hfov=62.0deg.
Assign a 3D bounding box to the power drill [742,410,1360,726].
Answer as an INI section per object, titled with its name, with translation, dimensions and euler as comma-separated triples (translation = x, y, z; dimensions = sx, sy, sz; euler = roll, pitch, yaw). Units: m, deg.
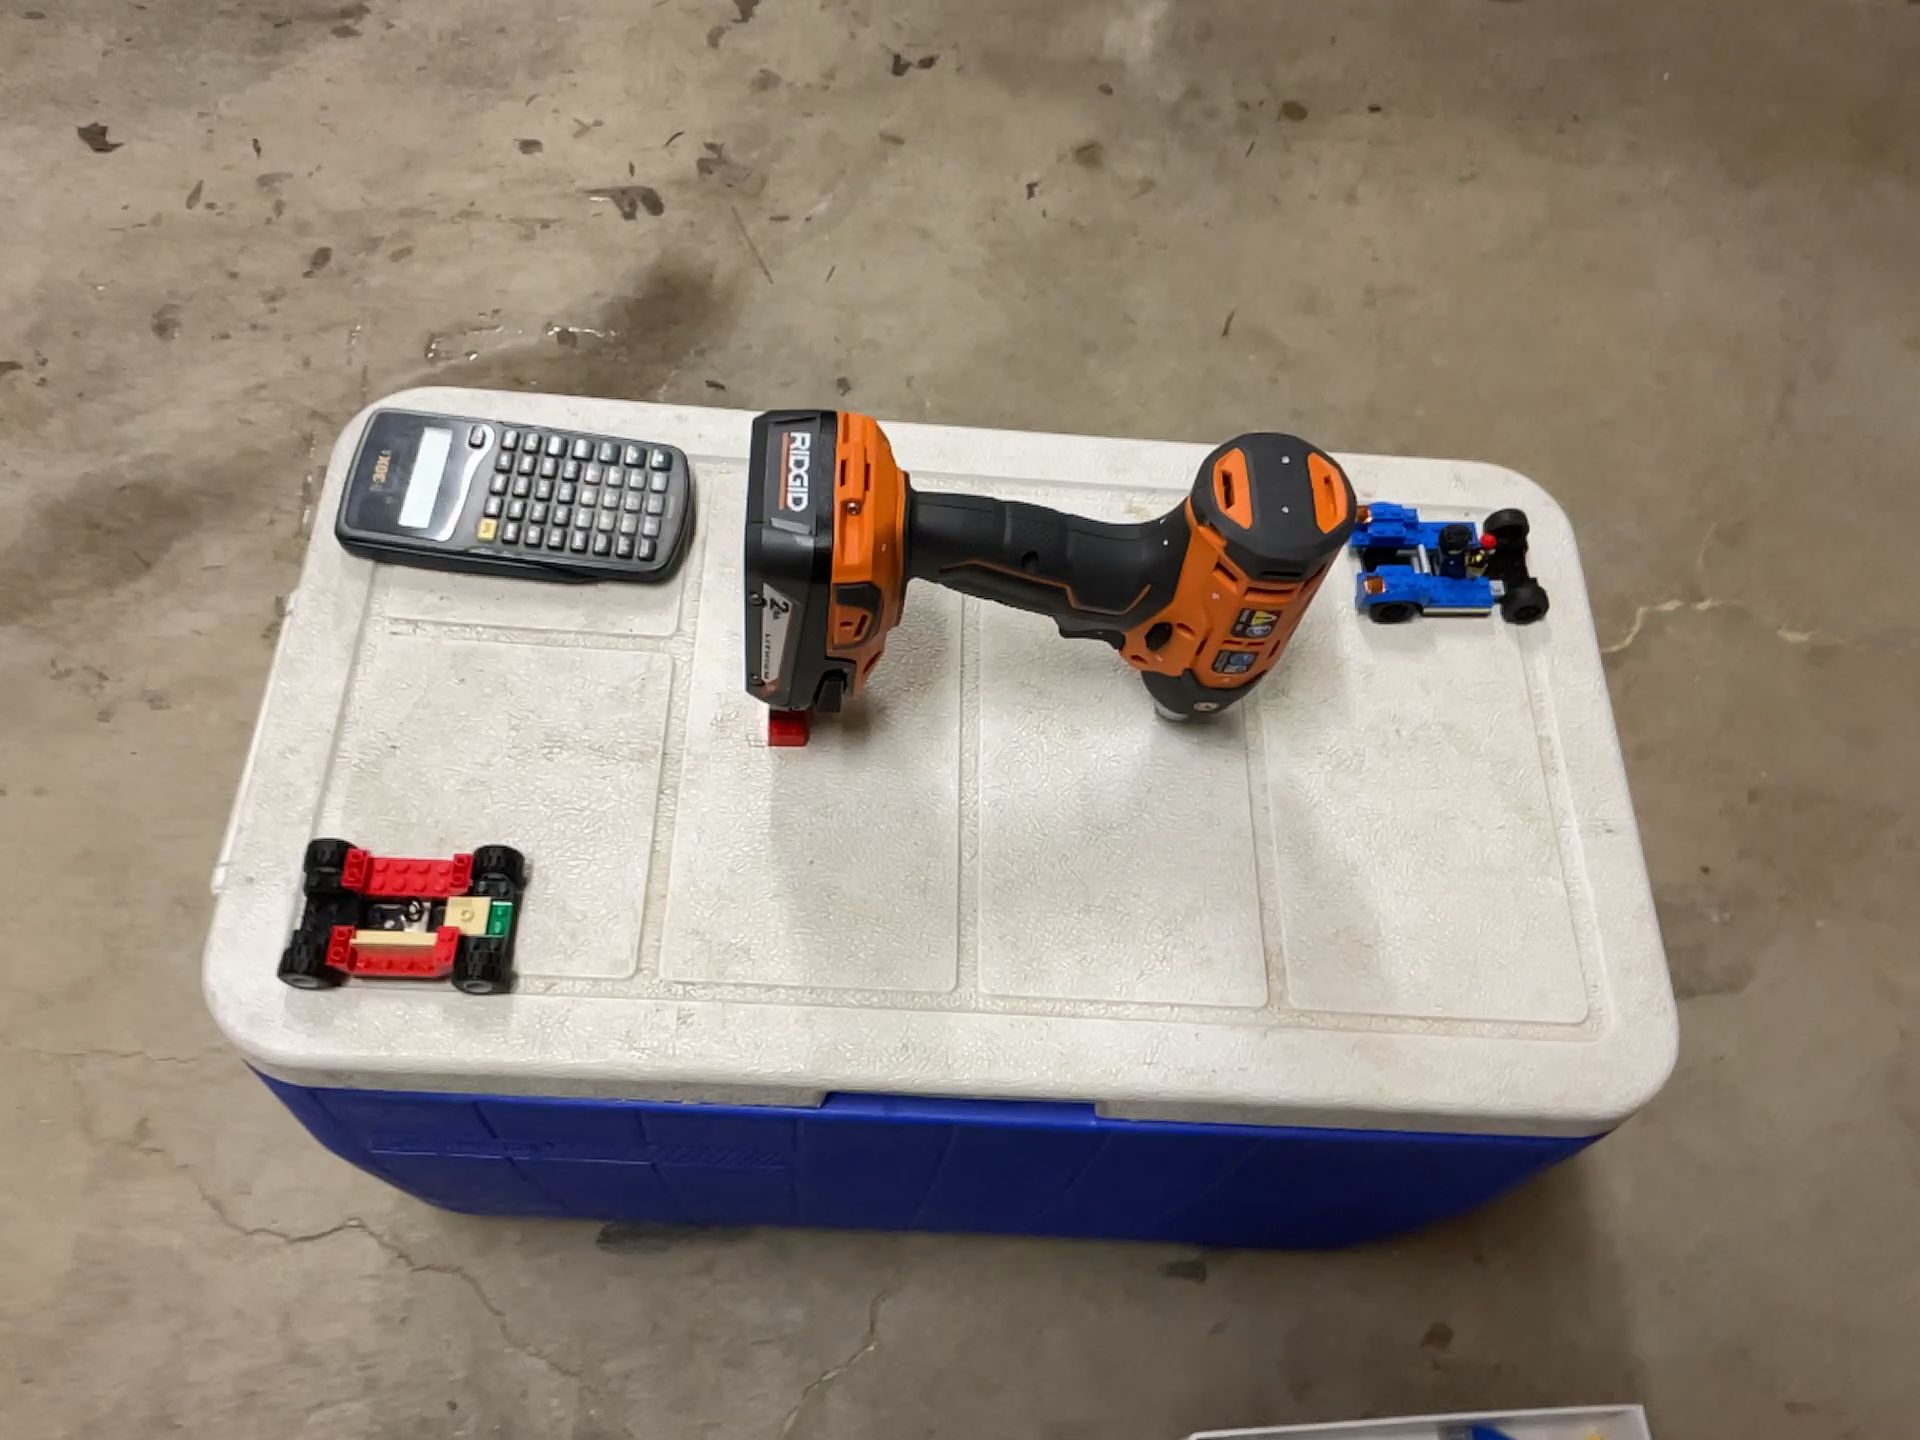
[power drill]
translation = 0.028, -0.049, 0.647
dimensions = 0.226, 0.164, 0.084
euler = 3, 60, -6
